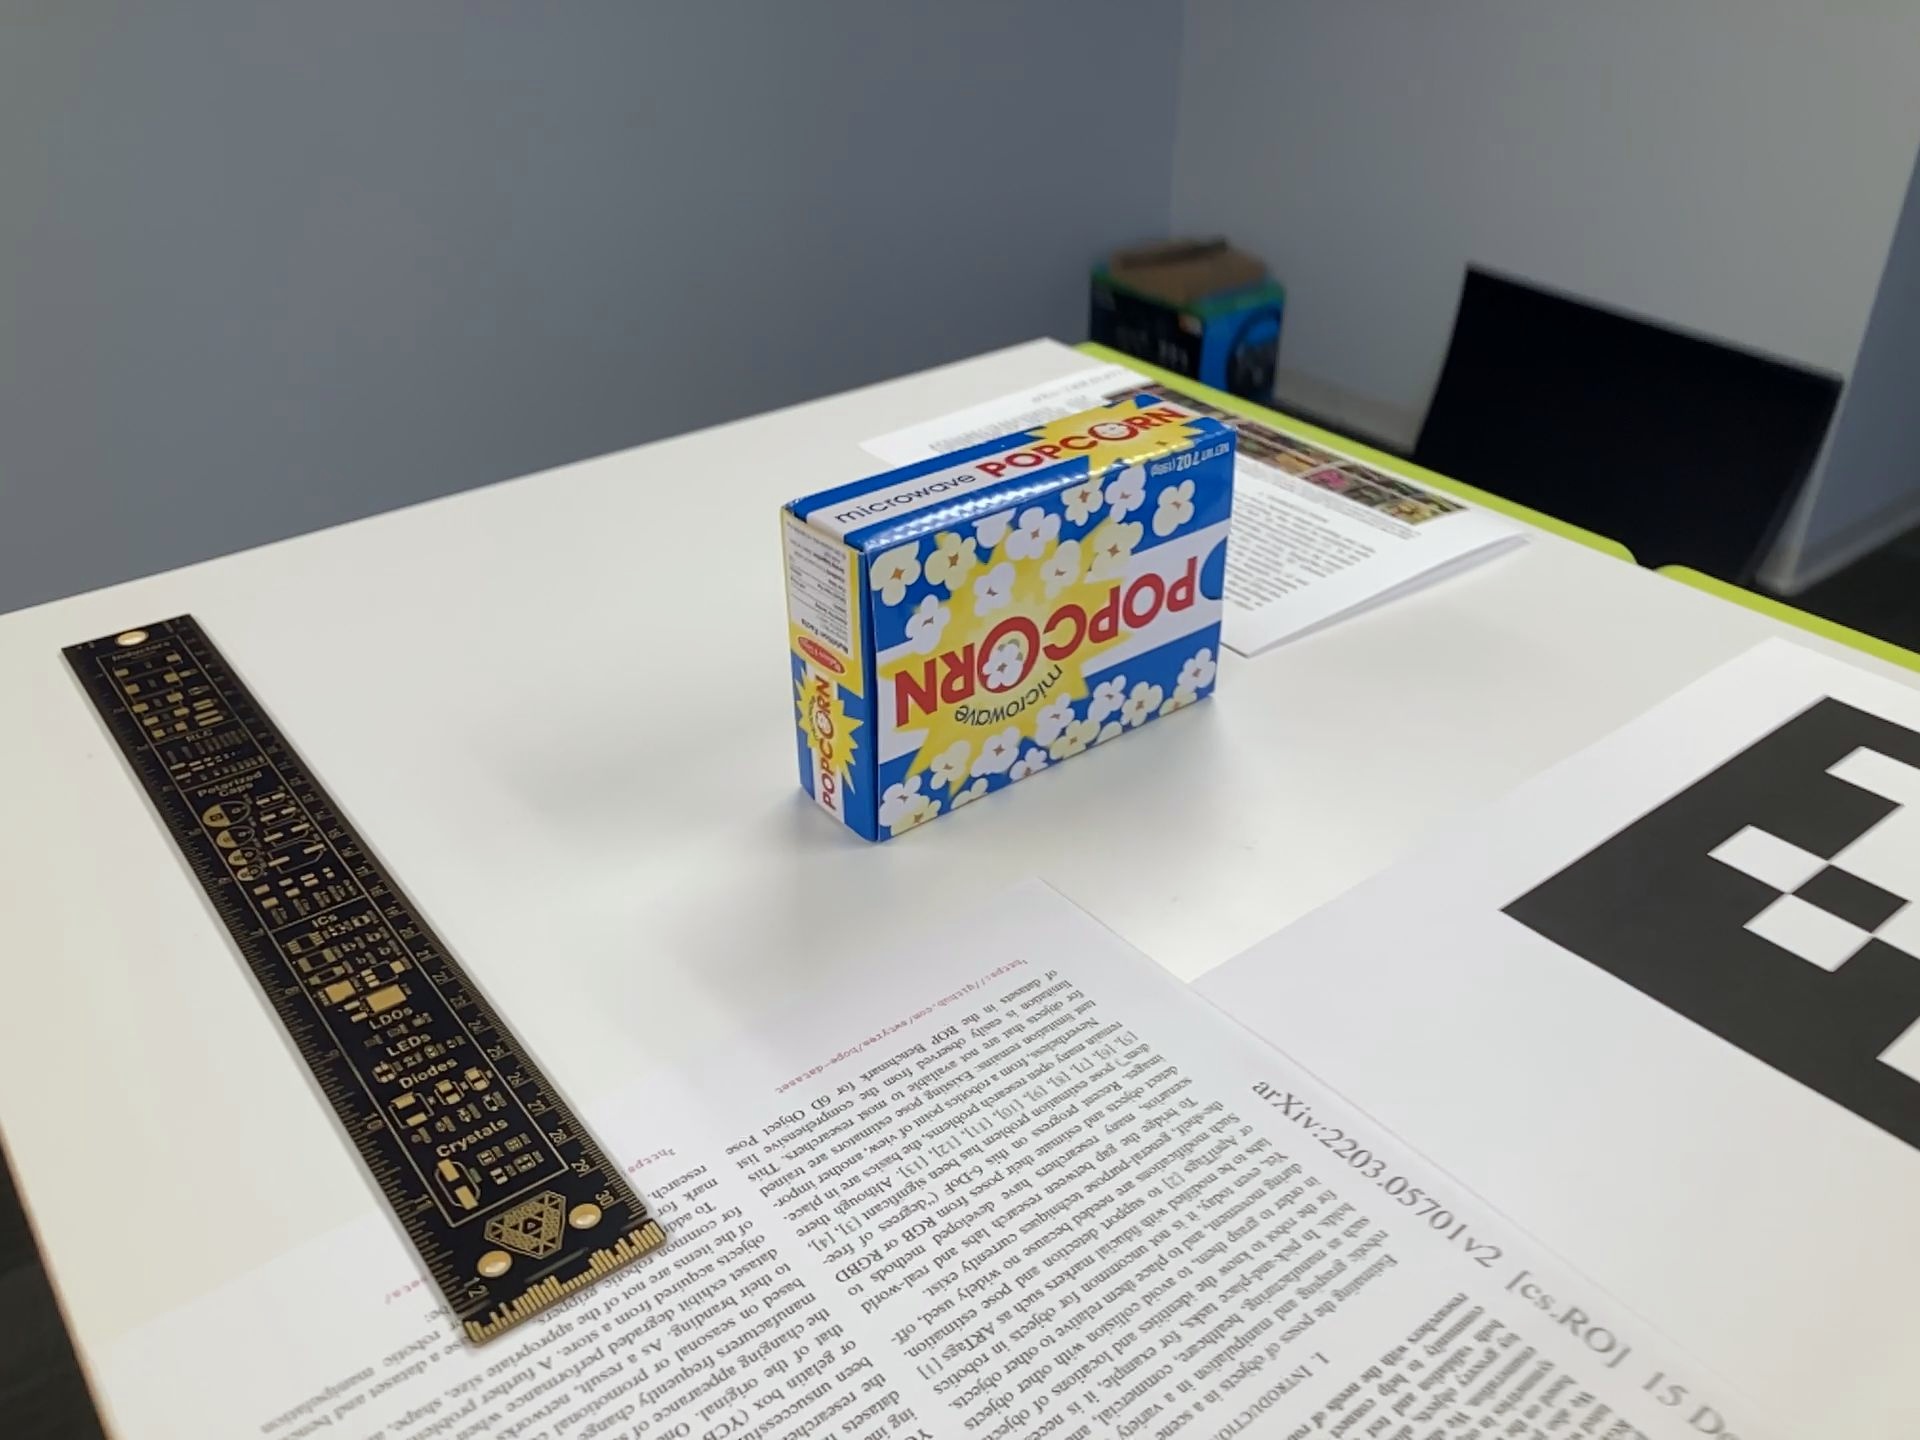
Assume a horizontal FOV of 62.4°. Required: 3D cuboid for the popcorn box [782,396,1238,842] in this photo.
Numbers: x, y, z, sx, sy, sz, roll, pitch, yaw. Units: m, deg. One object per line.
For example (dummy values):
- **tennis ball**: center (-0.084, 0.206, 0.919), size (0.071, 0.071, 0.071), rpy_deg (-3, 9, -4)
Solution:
- **popcorn box**: center (0.016, -0.030, 0.430), size (0.126, 0.085, 0.038), rpy_deg (-23, 37, -31)
